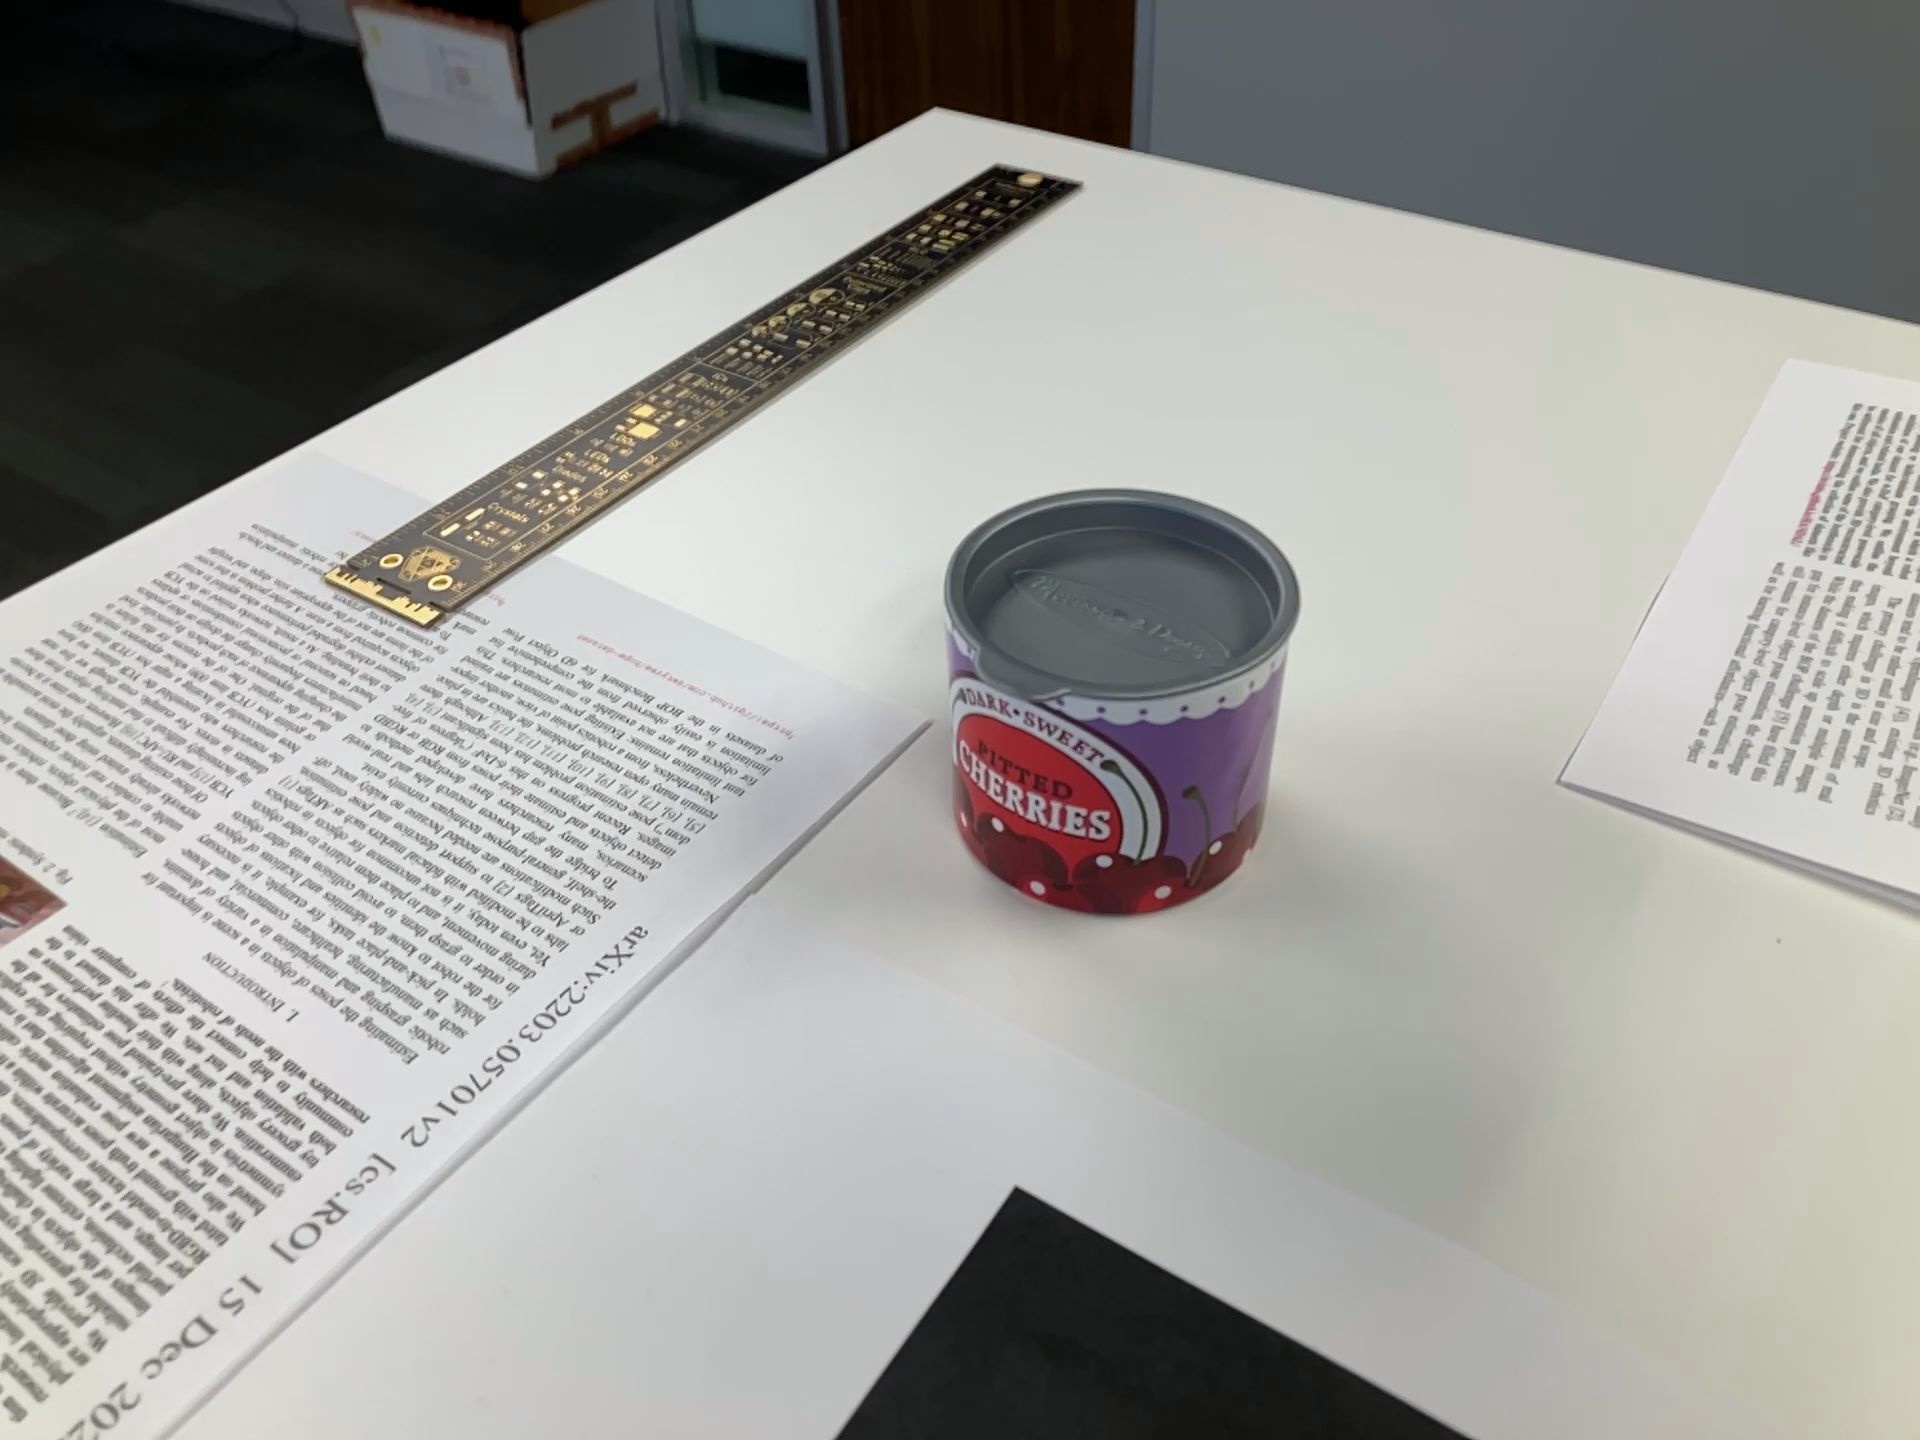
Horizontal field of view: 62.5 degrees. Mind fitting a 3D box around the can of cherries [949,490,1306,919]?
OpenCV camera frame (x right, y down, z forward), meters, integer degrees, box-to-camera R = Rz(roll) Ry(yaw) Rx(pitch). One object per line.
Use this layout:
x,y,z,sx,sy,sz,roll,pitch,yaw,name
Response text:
0.030,-0.002,0.312,0.071,0.058,0.071,-1,40,1,can of cherries
